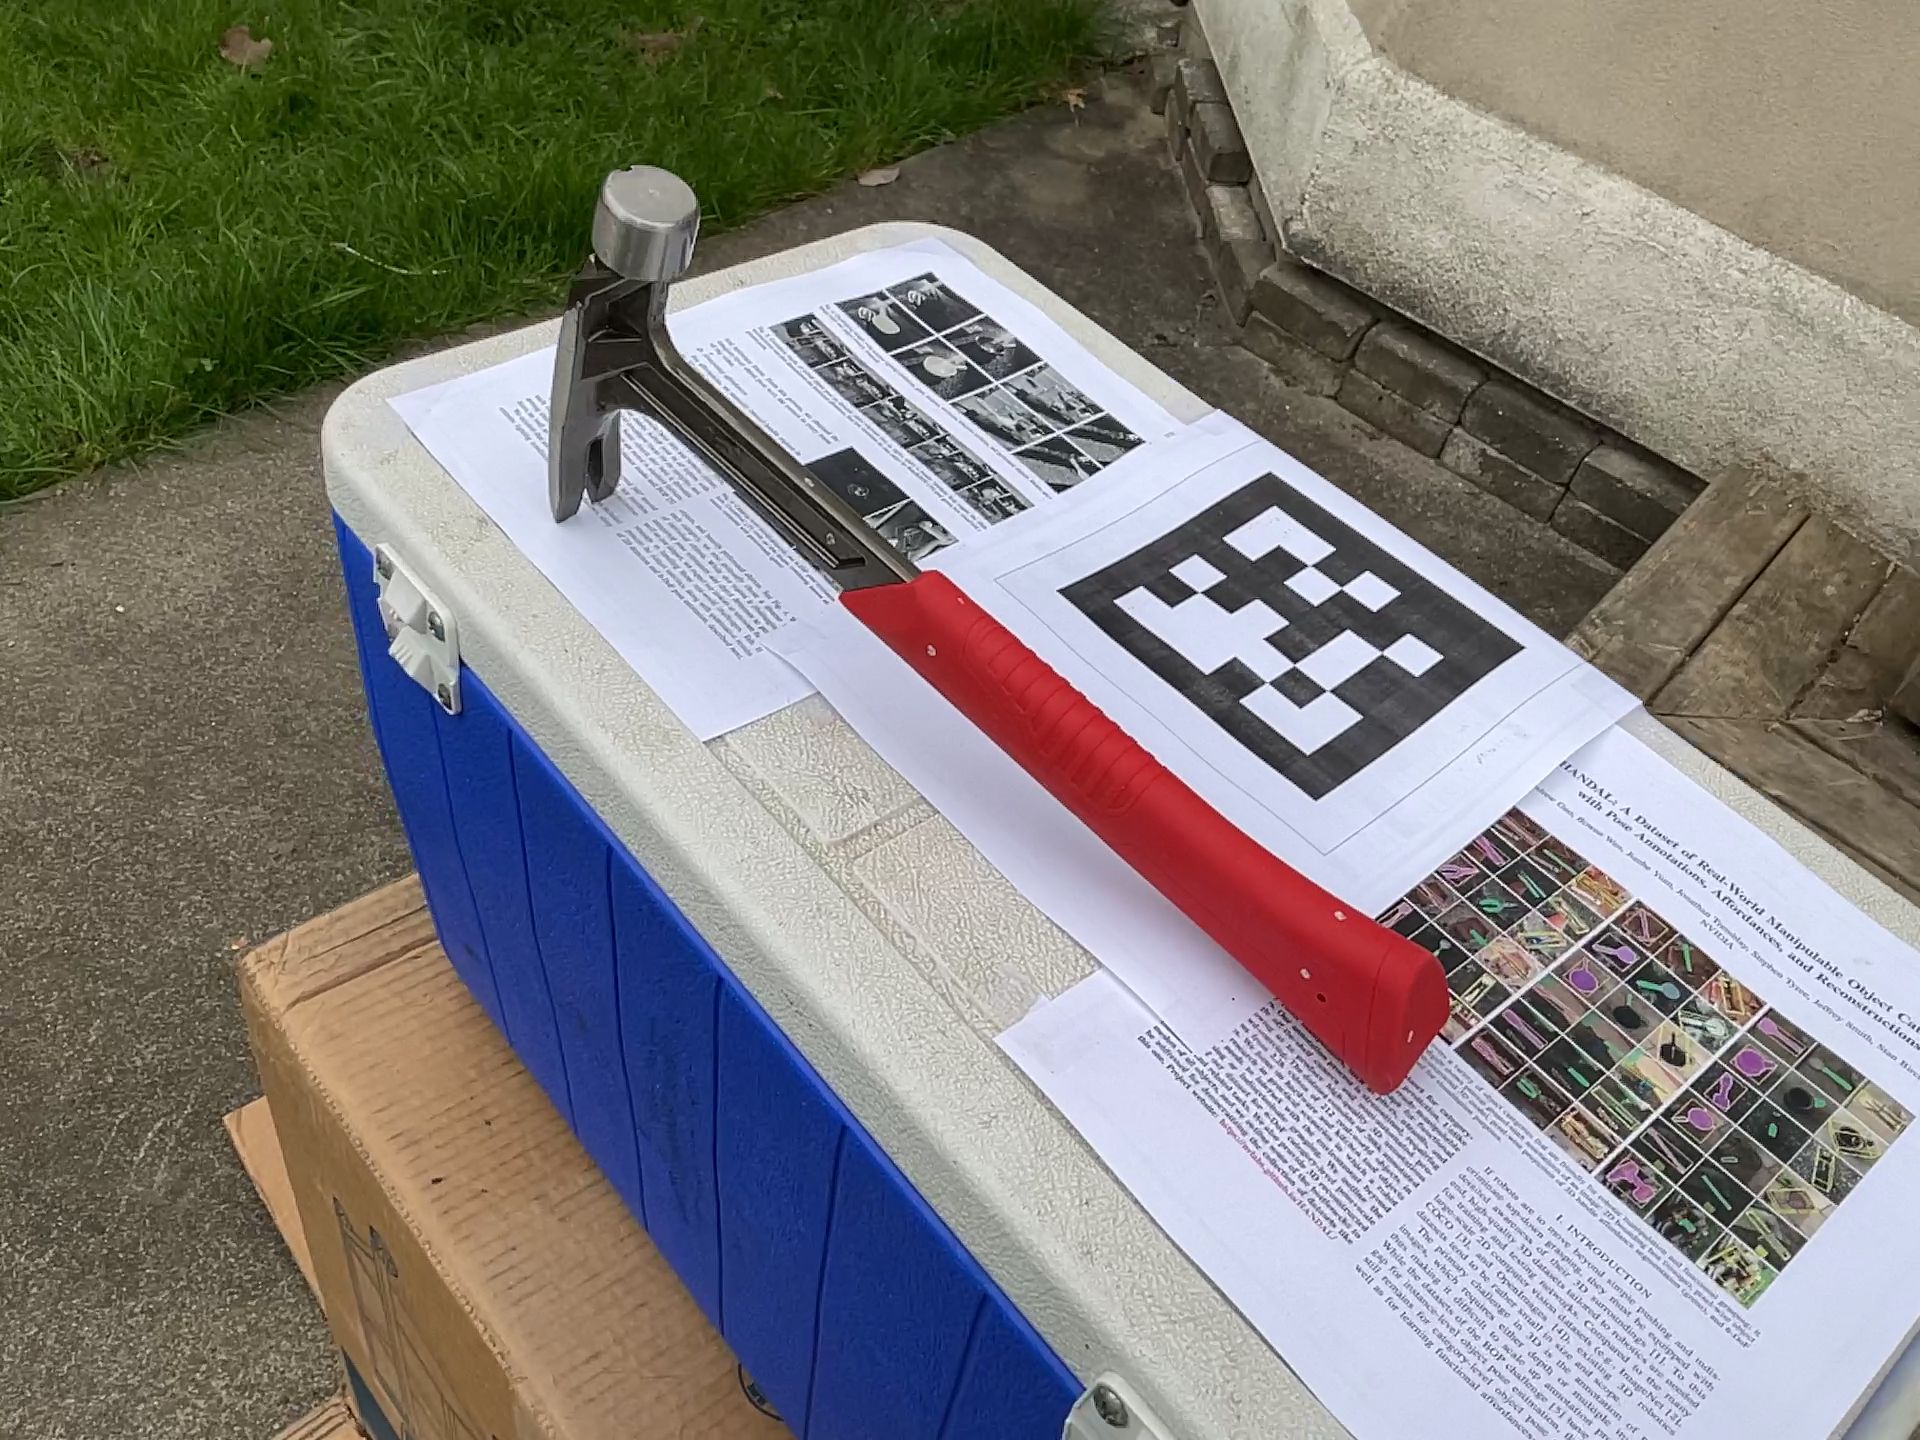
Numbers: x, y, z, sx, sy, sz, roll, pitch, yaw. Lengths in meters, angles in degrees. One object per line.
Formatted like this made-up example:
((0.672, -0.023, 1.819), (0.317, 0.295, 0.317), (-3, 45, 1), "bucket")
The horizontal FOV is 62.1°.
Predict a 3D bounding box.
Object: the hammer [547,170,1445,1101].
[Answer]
((0.000, -0.013, 0.512), (0.359, 0.149, 0.037), (42, 51, 12), "hammer")
